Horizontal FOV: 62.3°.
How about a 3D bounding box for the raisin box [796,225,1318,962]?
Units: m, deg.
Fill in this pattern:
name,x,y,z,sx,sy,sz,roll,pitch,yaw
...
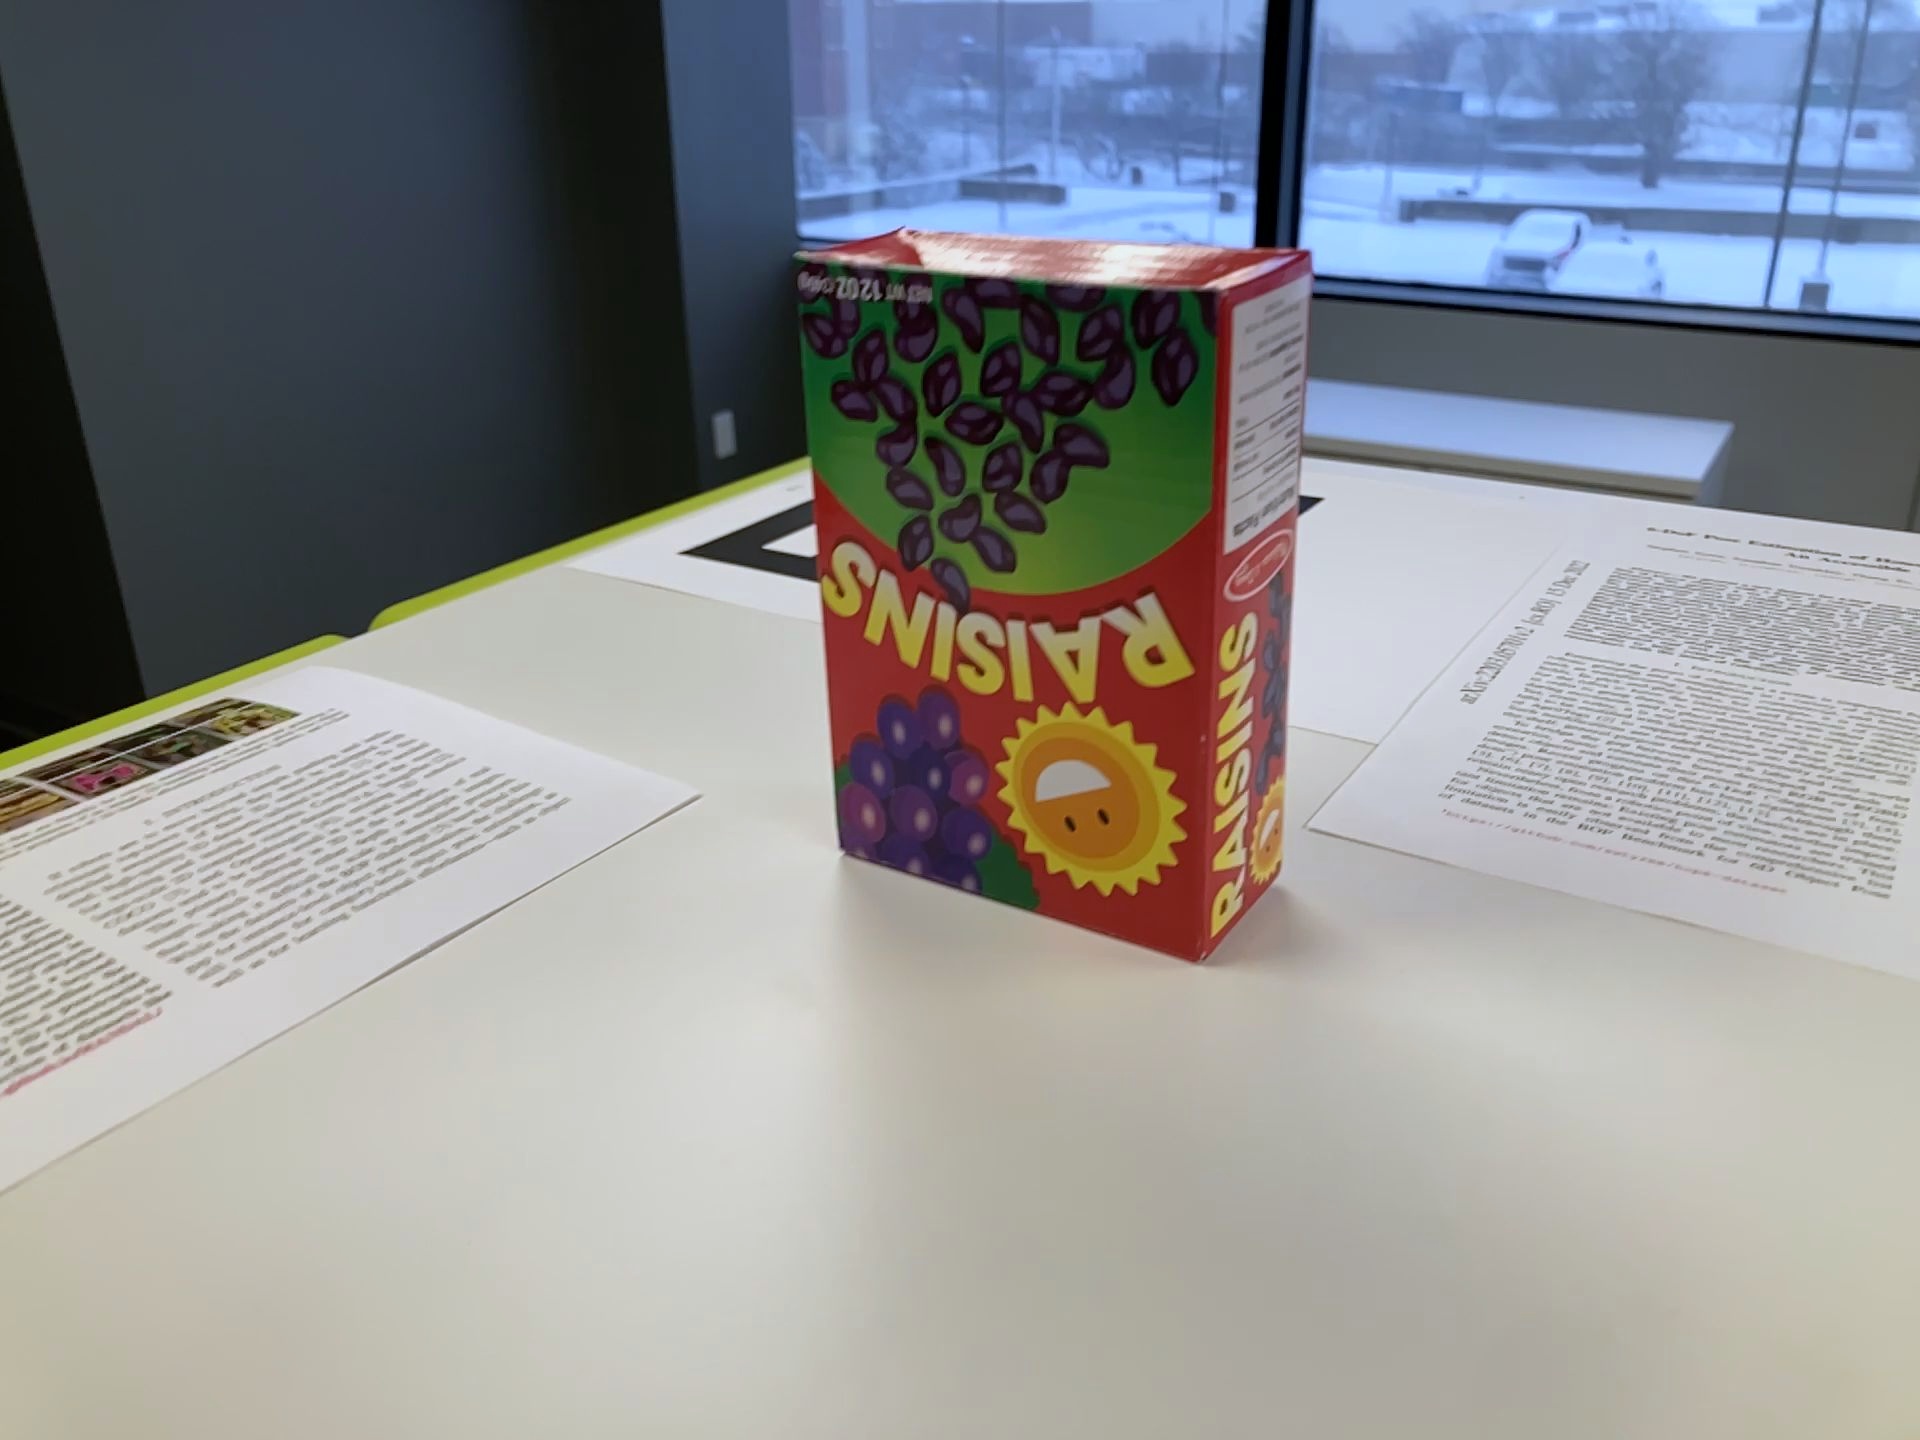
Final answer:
name,x,y,z,sx,sy,sz,roll,pitch,yaw
raisin box,0.017,-0.026,0.298,0.086,0.123,0.040,13,28,30
